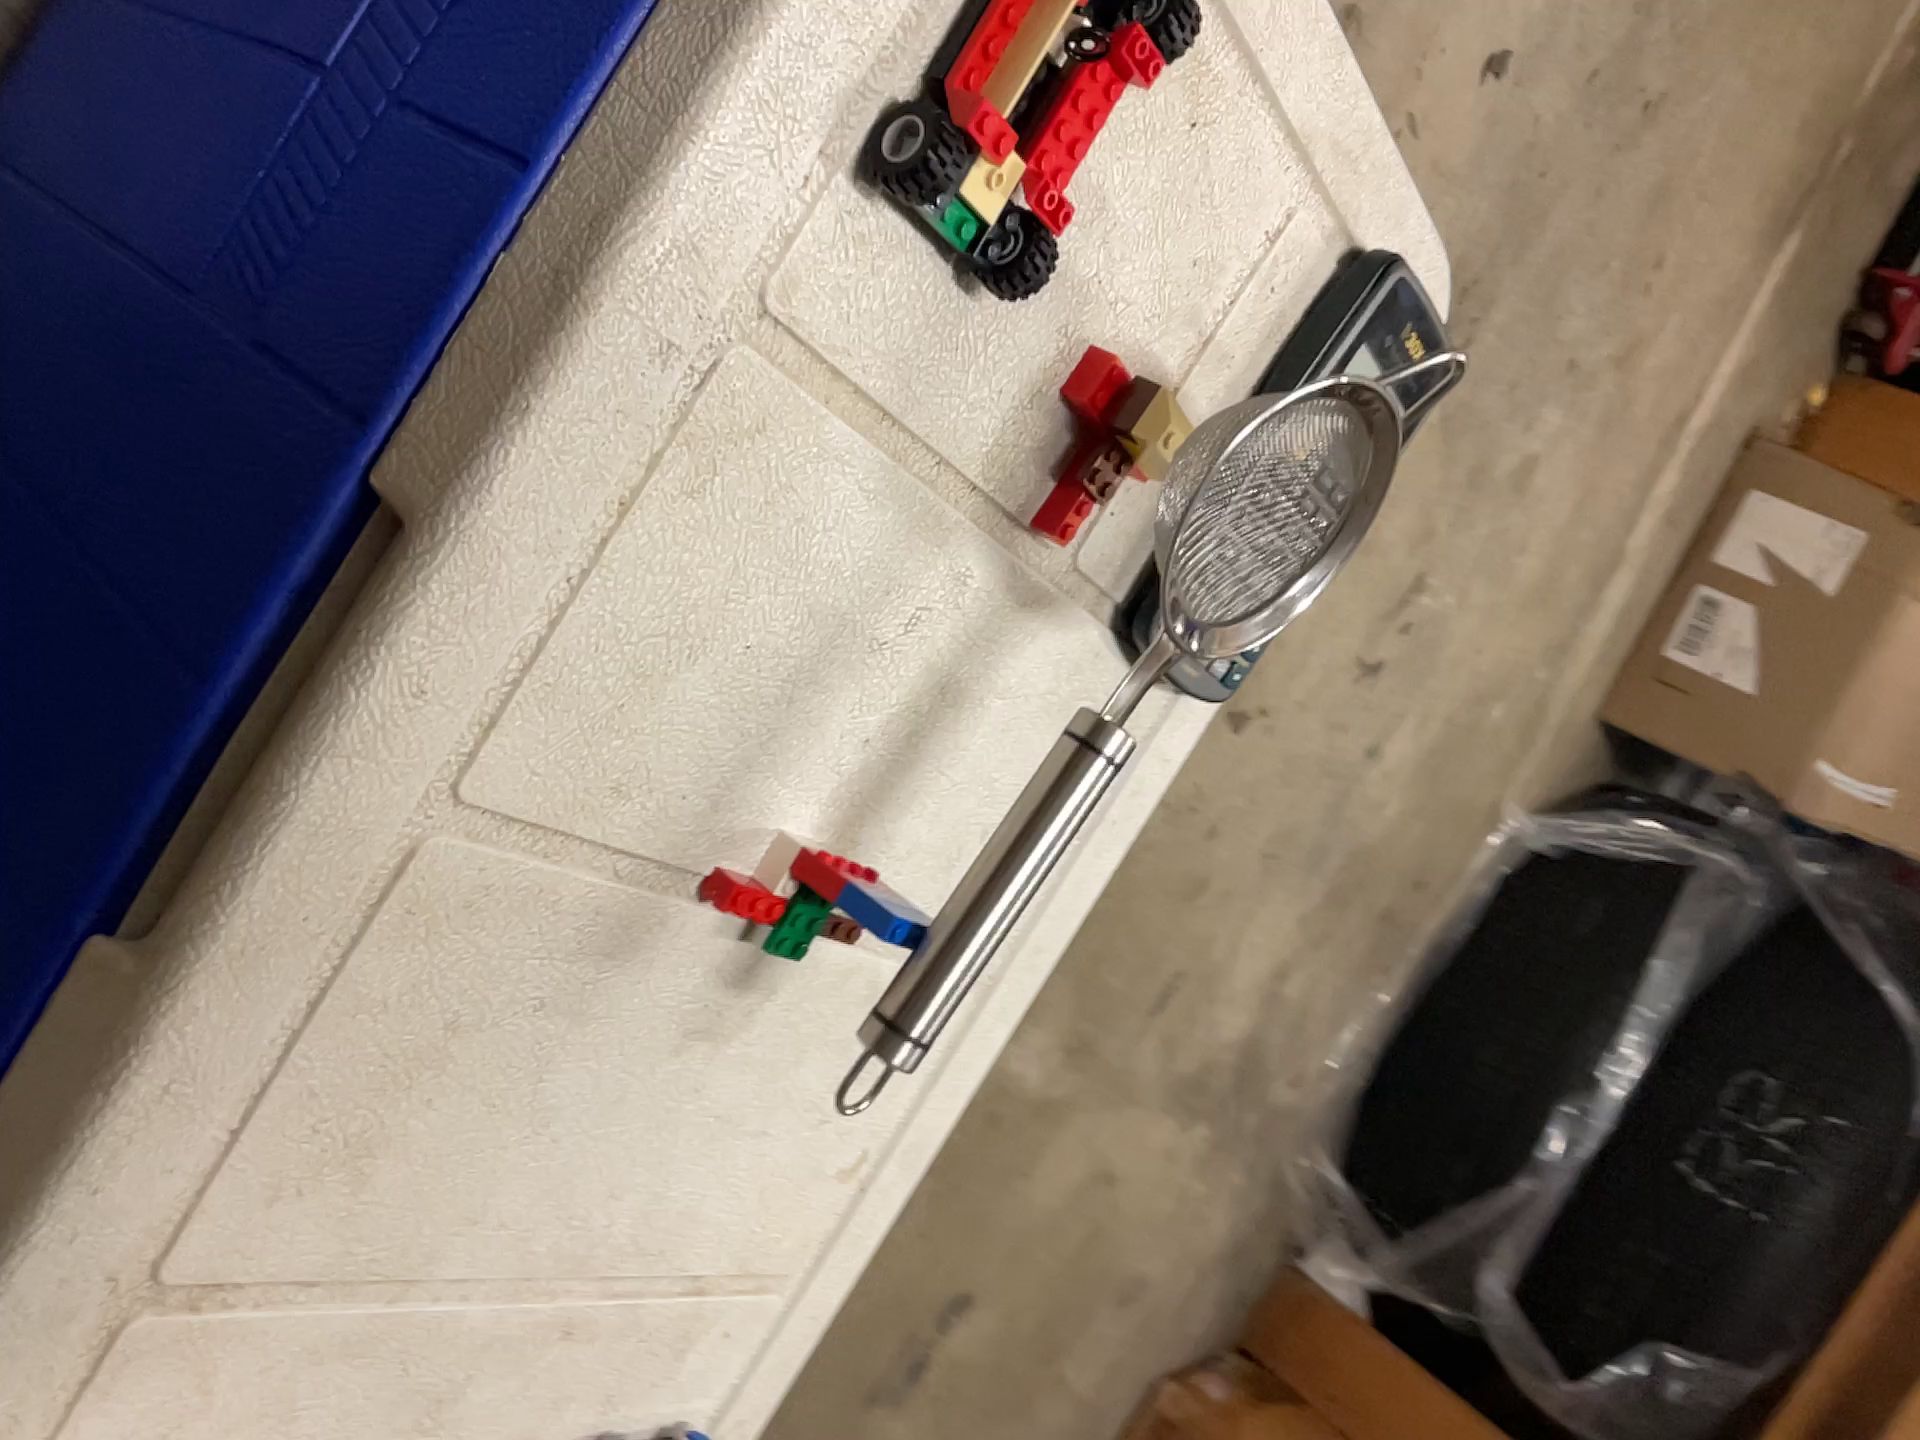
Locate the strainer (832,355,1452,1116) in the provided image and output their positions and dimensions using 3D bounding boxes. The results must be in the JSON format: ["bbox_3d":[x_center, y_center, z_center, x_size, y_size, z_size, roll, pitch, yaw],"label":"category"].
[{"bbox_3d":[0.040,-0.001,0.435,0.258,0.050,0.086,-55,144,-2],"label":"strainer"}]
